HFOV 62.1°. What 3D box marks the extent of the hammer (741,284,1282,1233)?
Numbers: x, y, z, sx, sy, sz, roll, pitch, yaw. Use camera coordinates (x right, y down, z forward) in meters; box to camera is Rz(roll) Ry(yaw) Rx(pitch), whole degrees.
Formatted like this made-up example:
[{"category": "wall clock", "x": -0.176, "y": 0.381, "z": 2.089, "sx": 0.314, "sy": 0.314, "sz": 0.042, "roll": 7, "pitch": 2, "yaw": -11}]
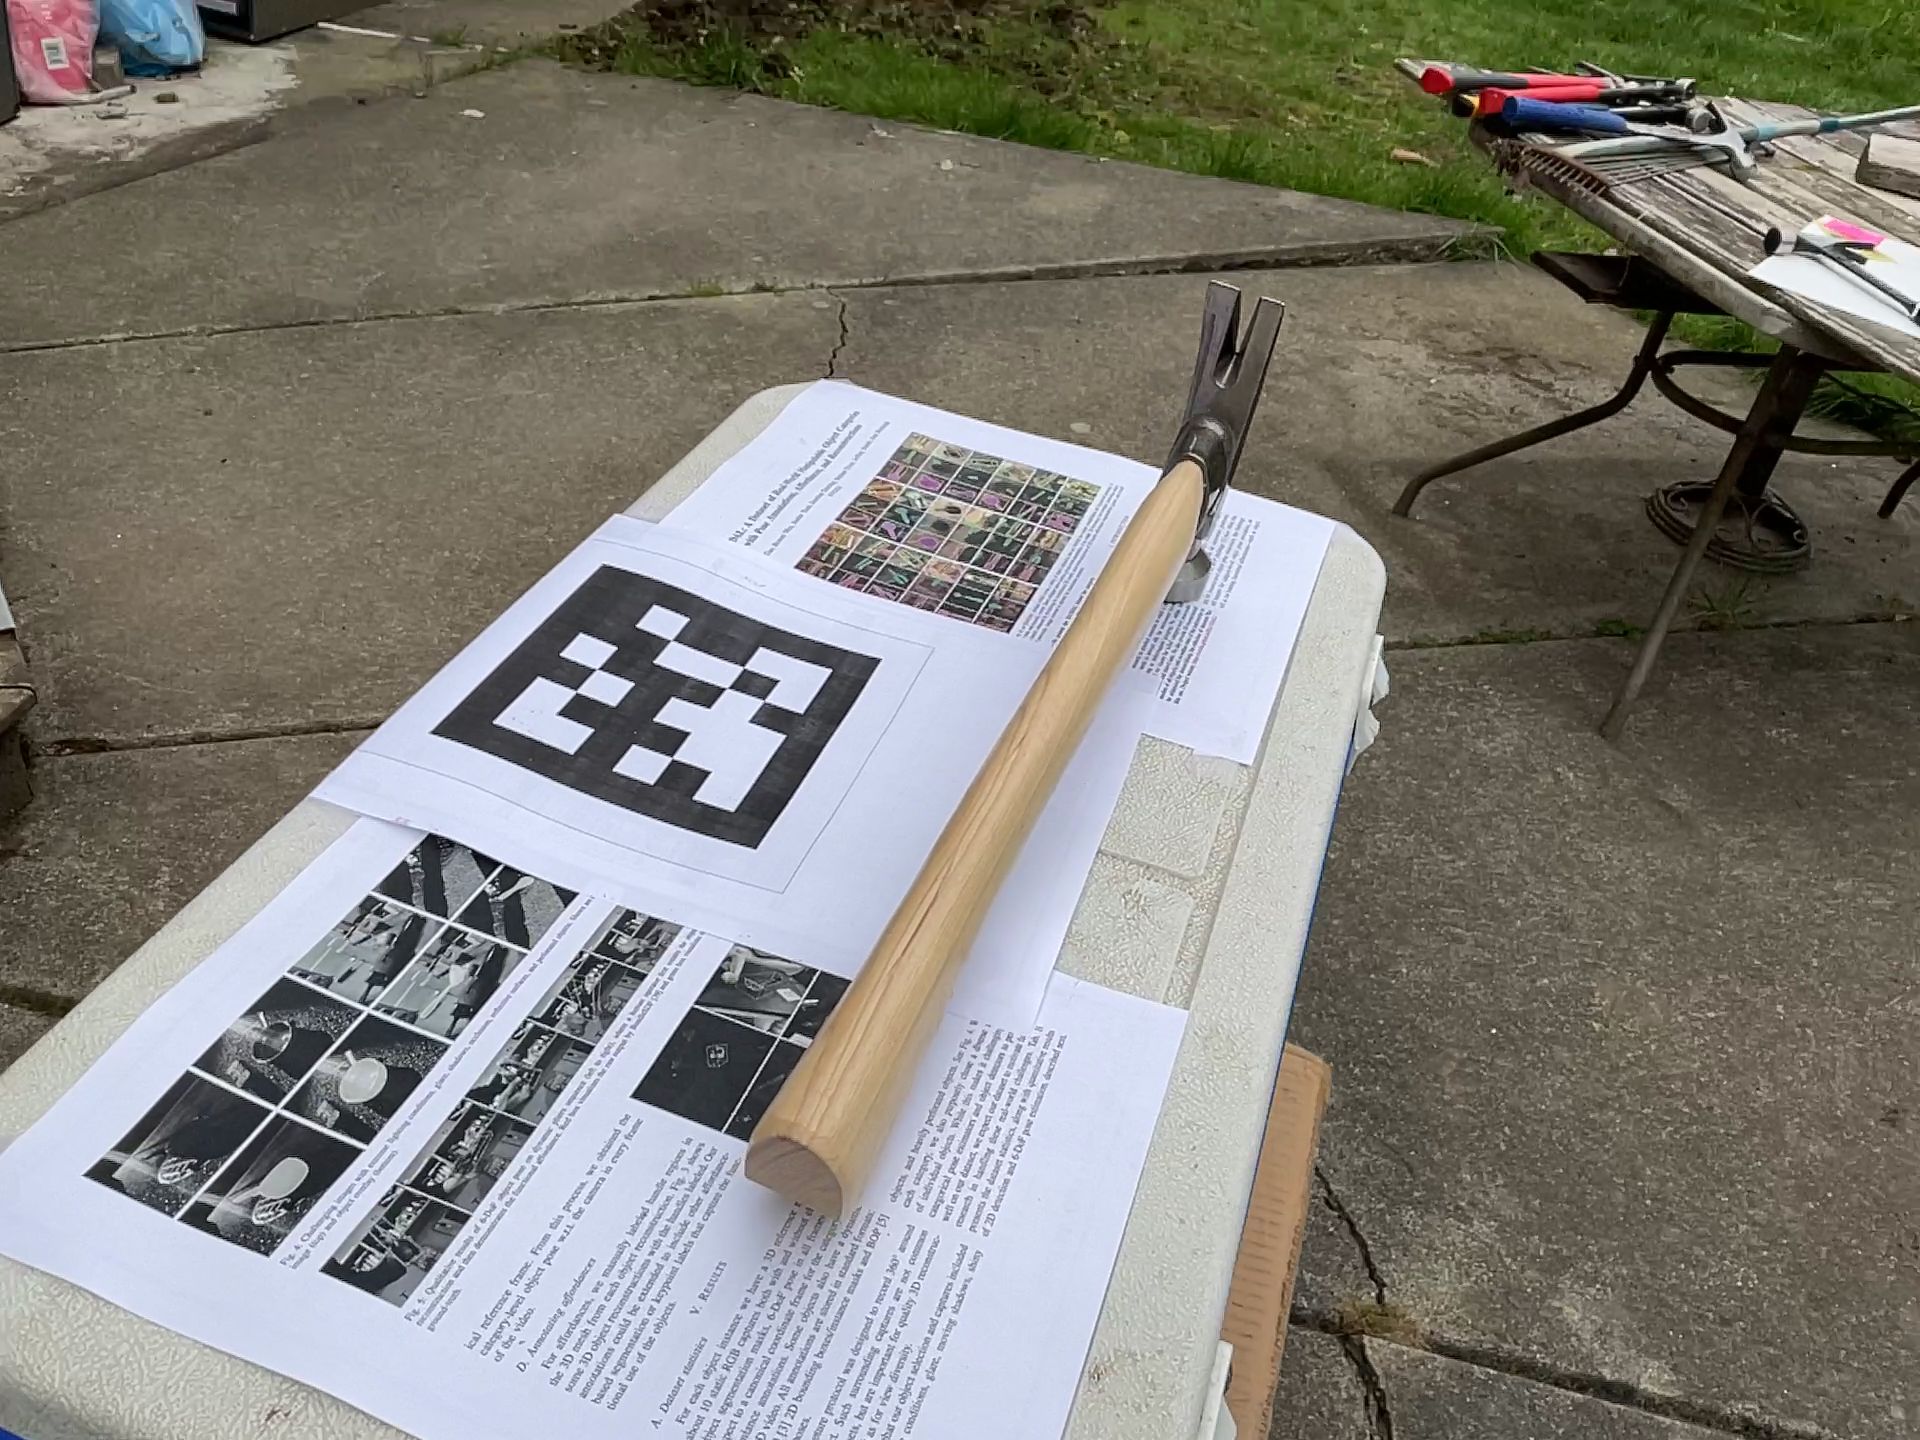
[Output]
[{"category": "hammer", "x": 0.035, "y": -0.007, "z": 0.552, "sx": 0.038, "sy": 0.146, "sz": 0.410, "roll": 20, "pitch": 43, "yaw": 12}]
